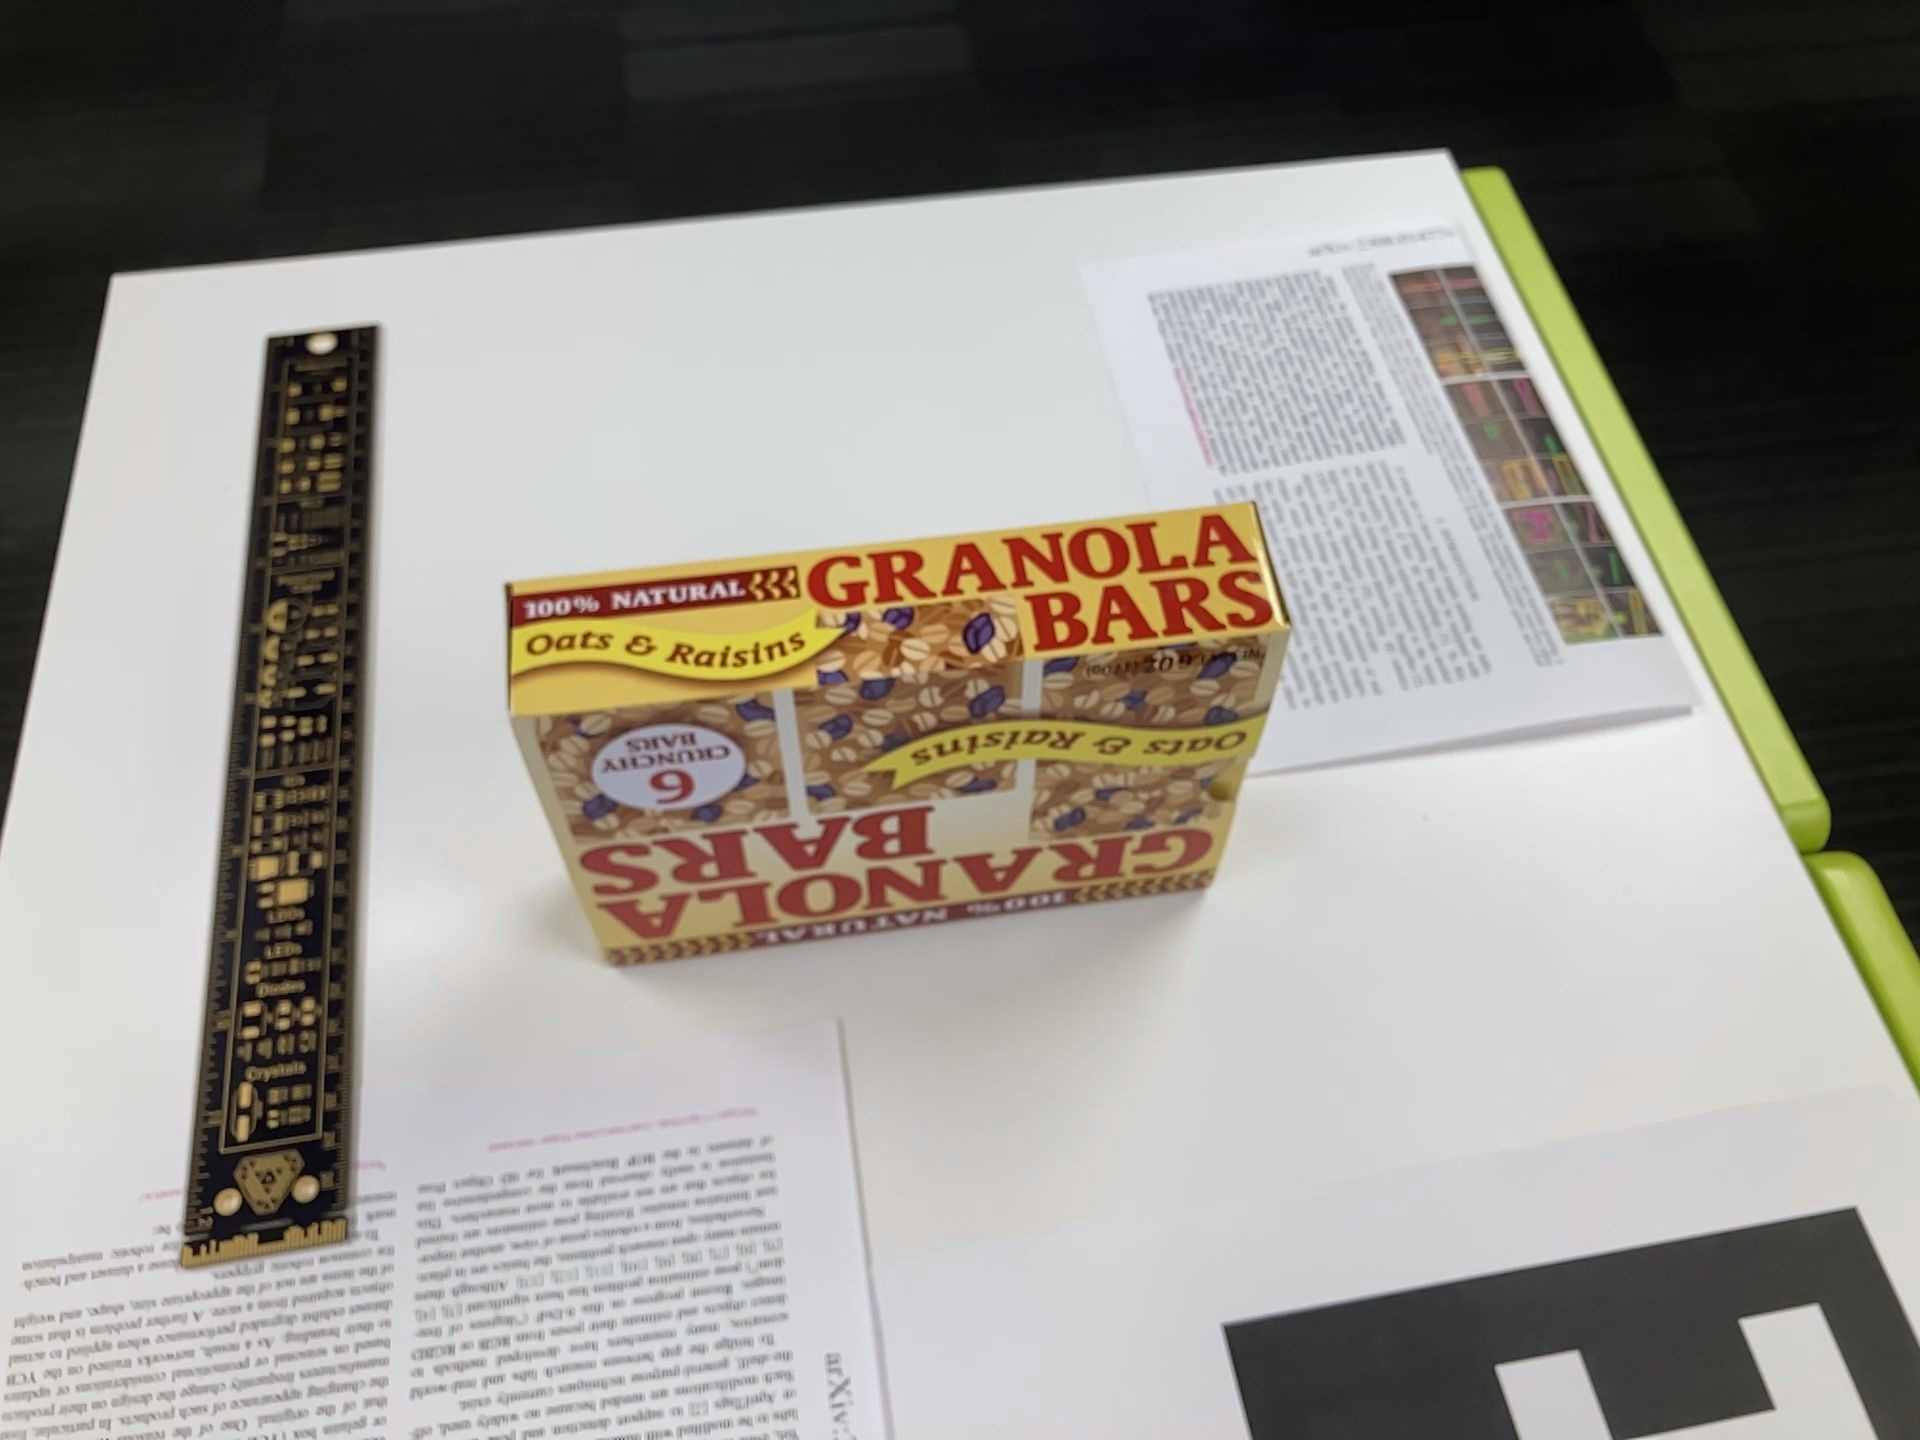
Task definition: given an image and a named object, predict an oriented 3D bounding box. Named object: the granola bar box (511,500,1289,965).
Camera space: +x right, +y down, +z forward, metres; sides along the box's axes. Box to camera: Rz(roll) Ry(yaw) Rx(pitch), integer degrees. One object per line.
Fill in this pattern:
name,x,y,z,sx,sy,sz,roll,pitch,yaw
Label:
granola bar box,-0.013,0.009,0.393,0.165,0.124,0.039,-7,58,-5
